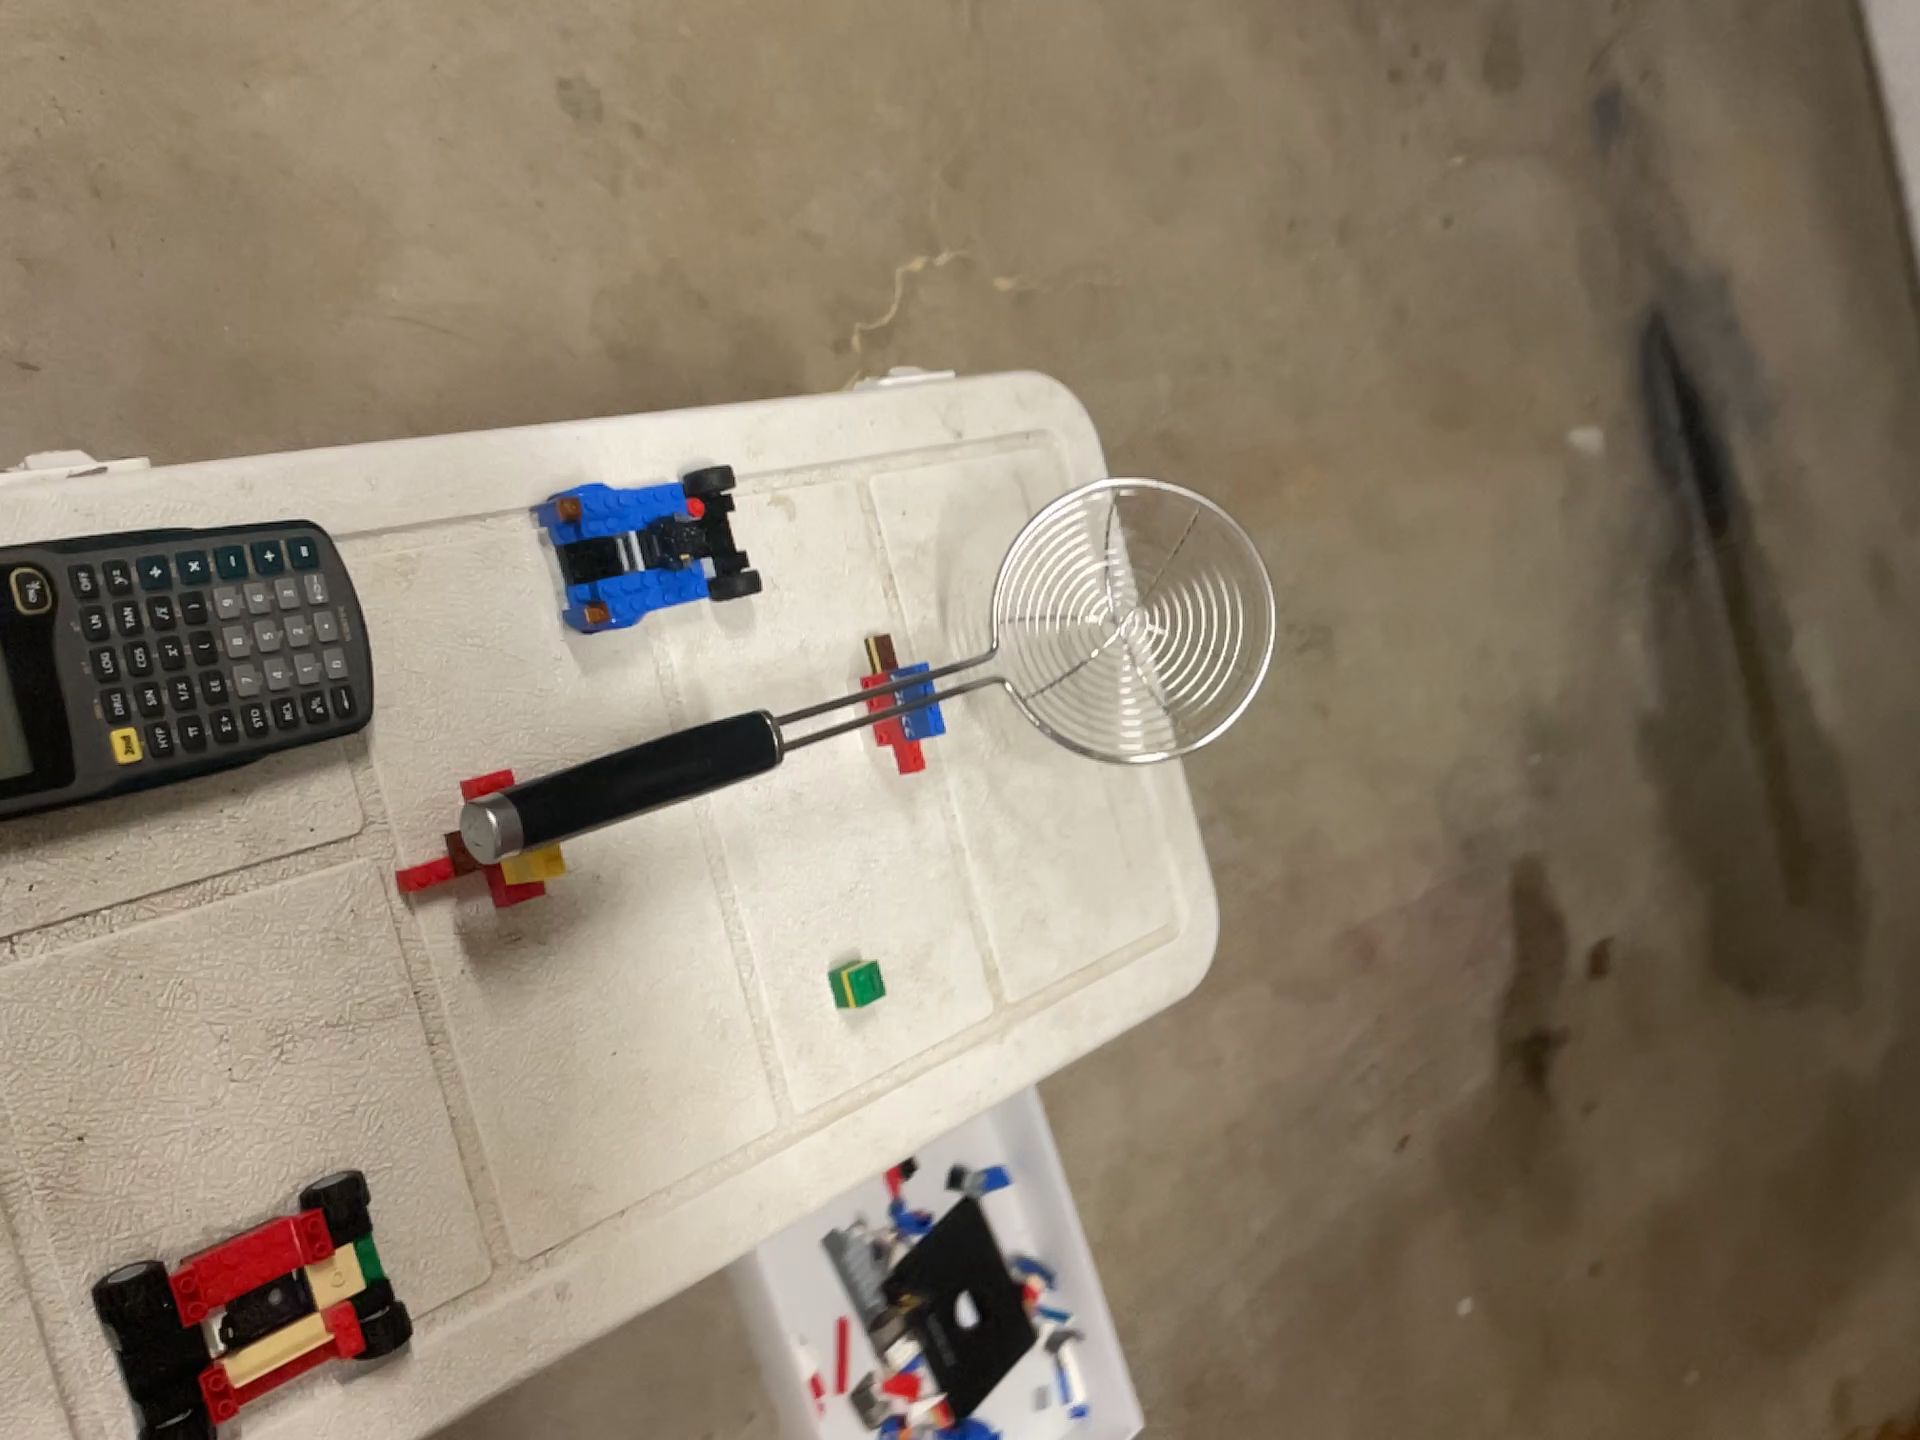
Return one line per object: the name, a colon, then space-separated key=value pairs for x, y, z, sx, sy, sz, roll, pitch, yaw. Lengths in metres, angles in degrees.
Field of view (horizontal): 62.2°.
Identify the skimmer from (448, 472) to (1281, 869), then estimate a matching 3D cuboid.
skimmer: x=-0.014 y=-0.013 z=0.607 sx=0.363 sy=0.090 sz=0.127 roll=-19 pitch=93 yaw=-44
